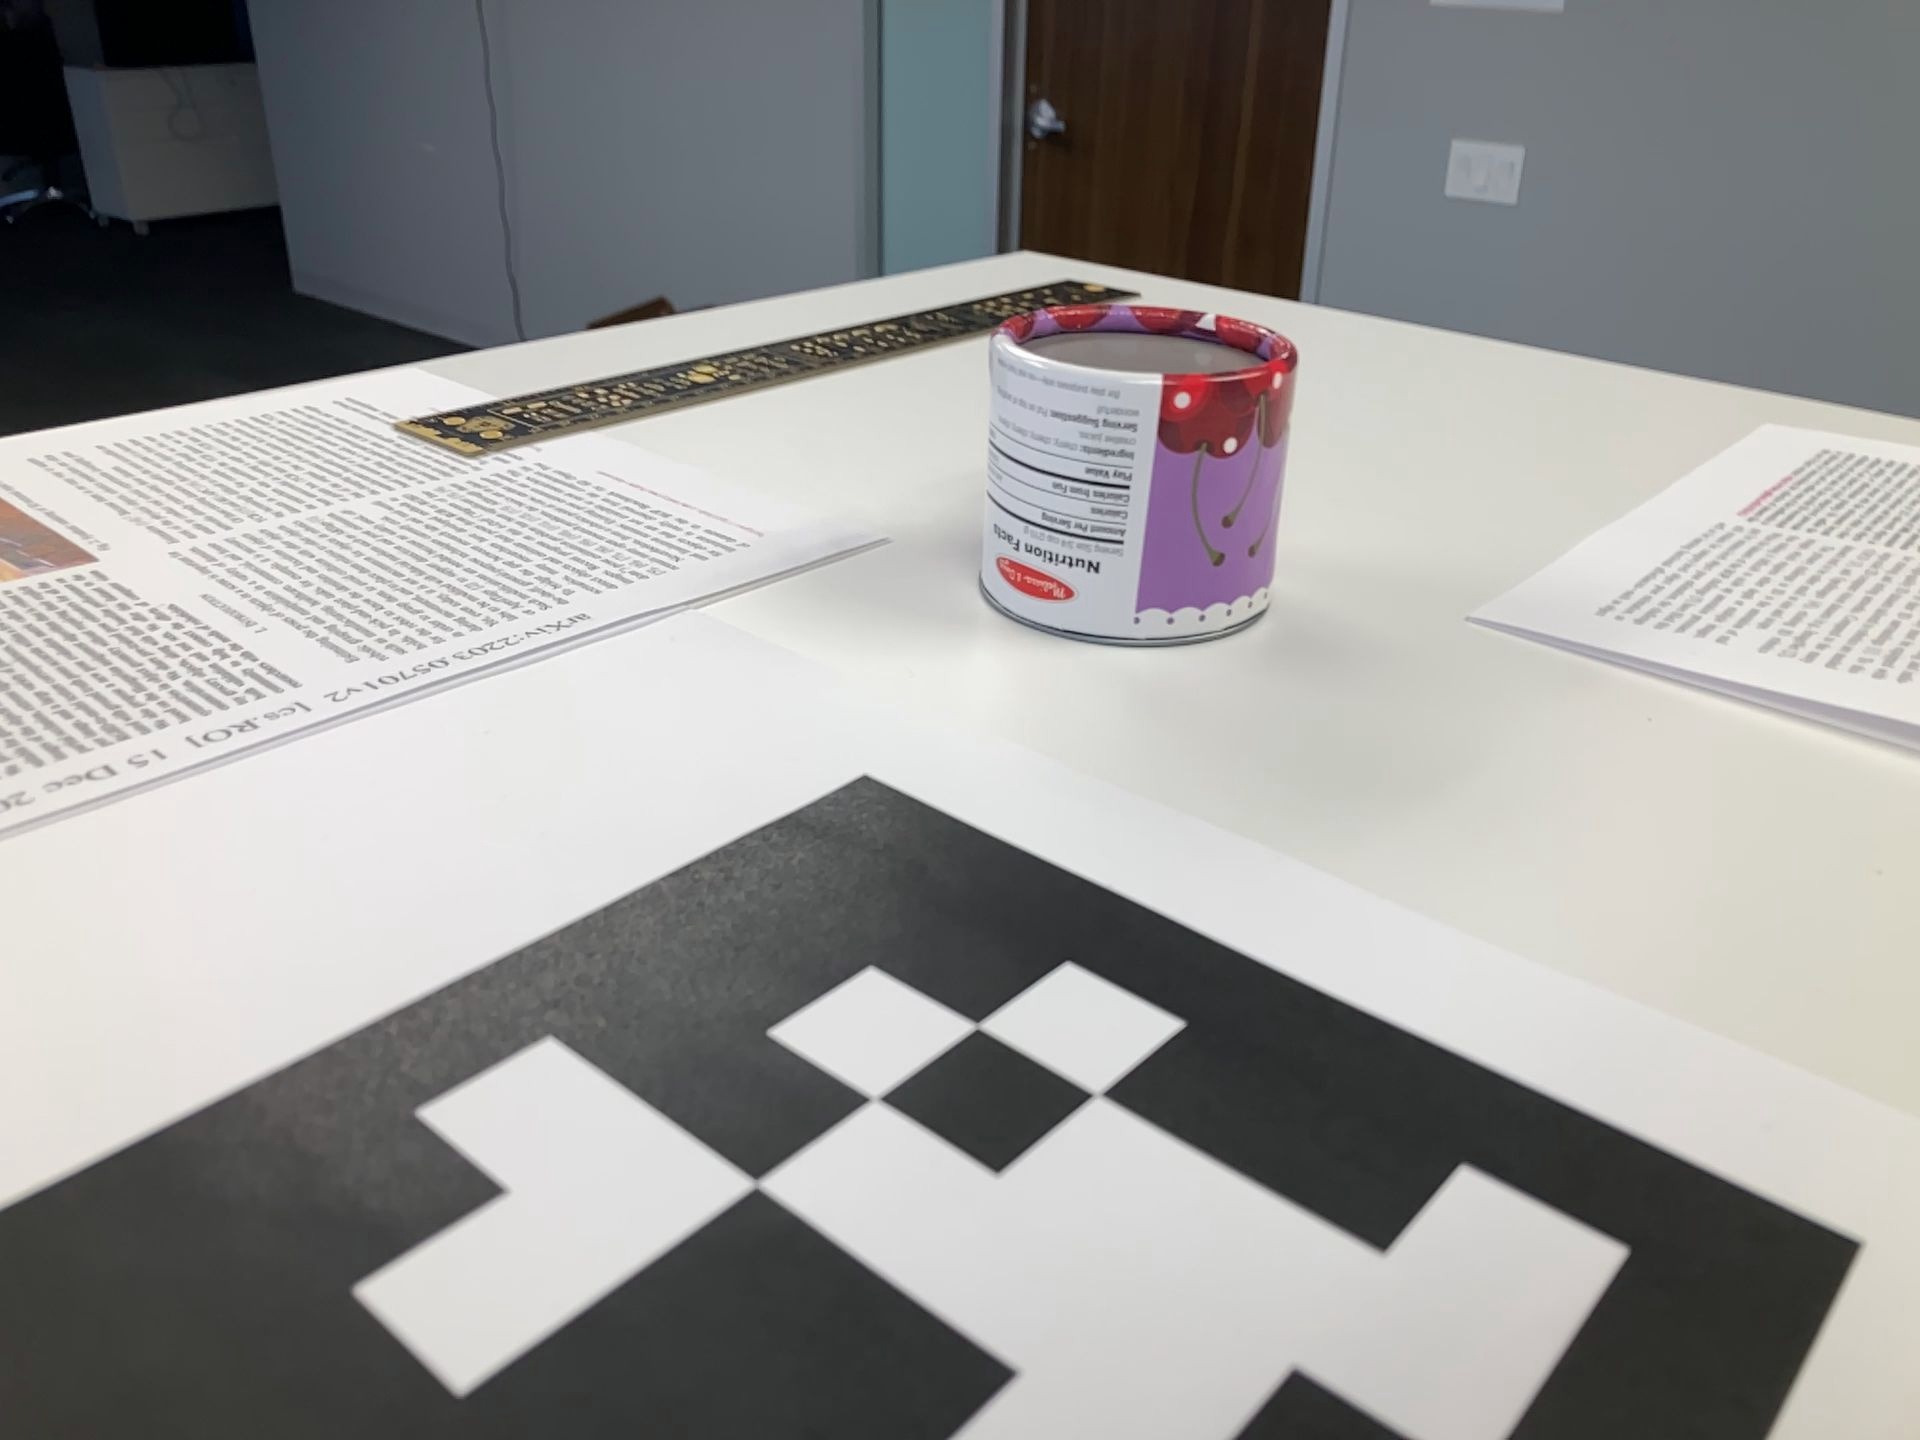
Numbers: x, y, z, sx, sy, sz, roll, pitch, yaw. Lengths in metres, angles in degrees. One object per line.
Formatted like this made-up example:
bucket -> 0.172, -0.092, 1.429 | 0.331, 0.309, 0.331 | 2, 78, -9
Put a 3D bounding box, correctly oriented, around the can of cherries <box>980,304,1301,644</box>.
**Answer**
can of cherries -> 0.040, -0.057, 0.350 | 0.071, 0.058, 0.071 | 1, 26, -1
